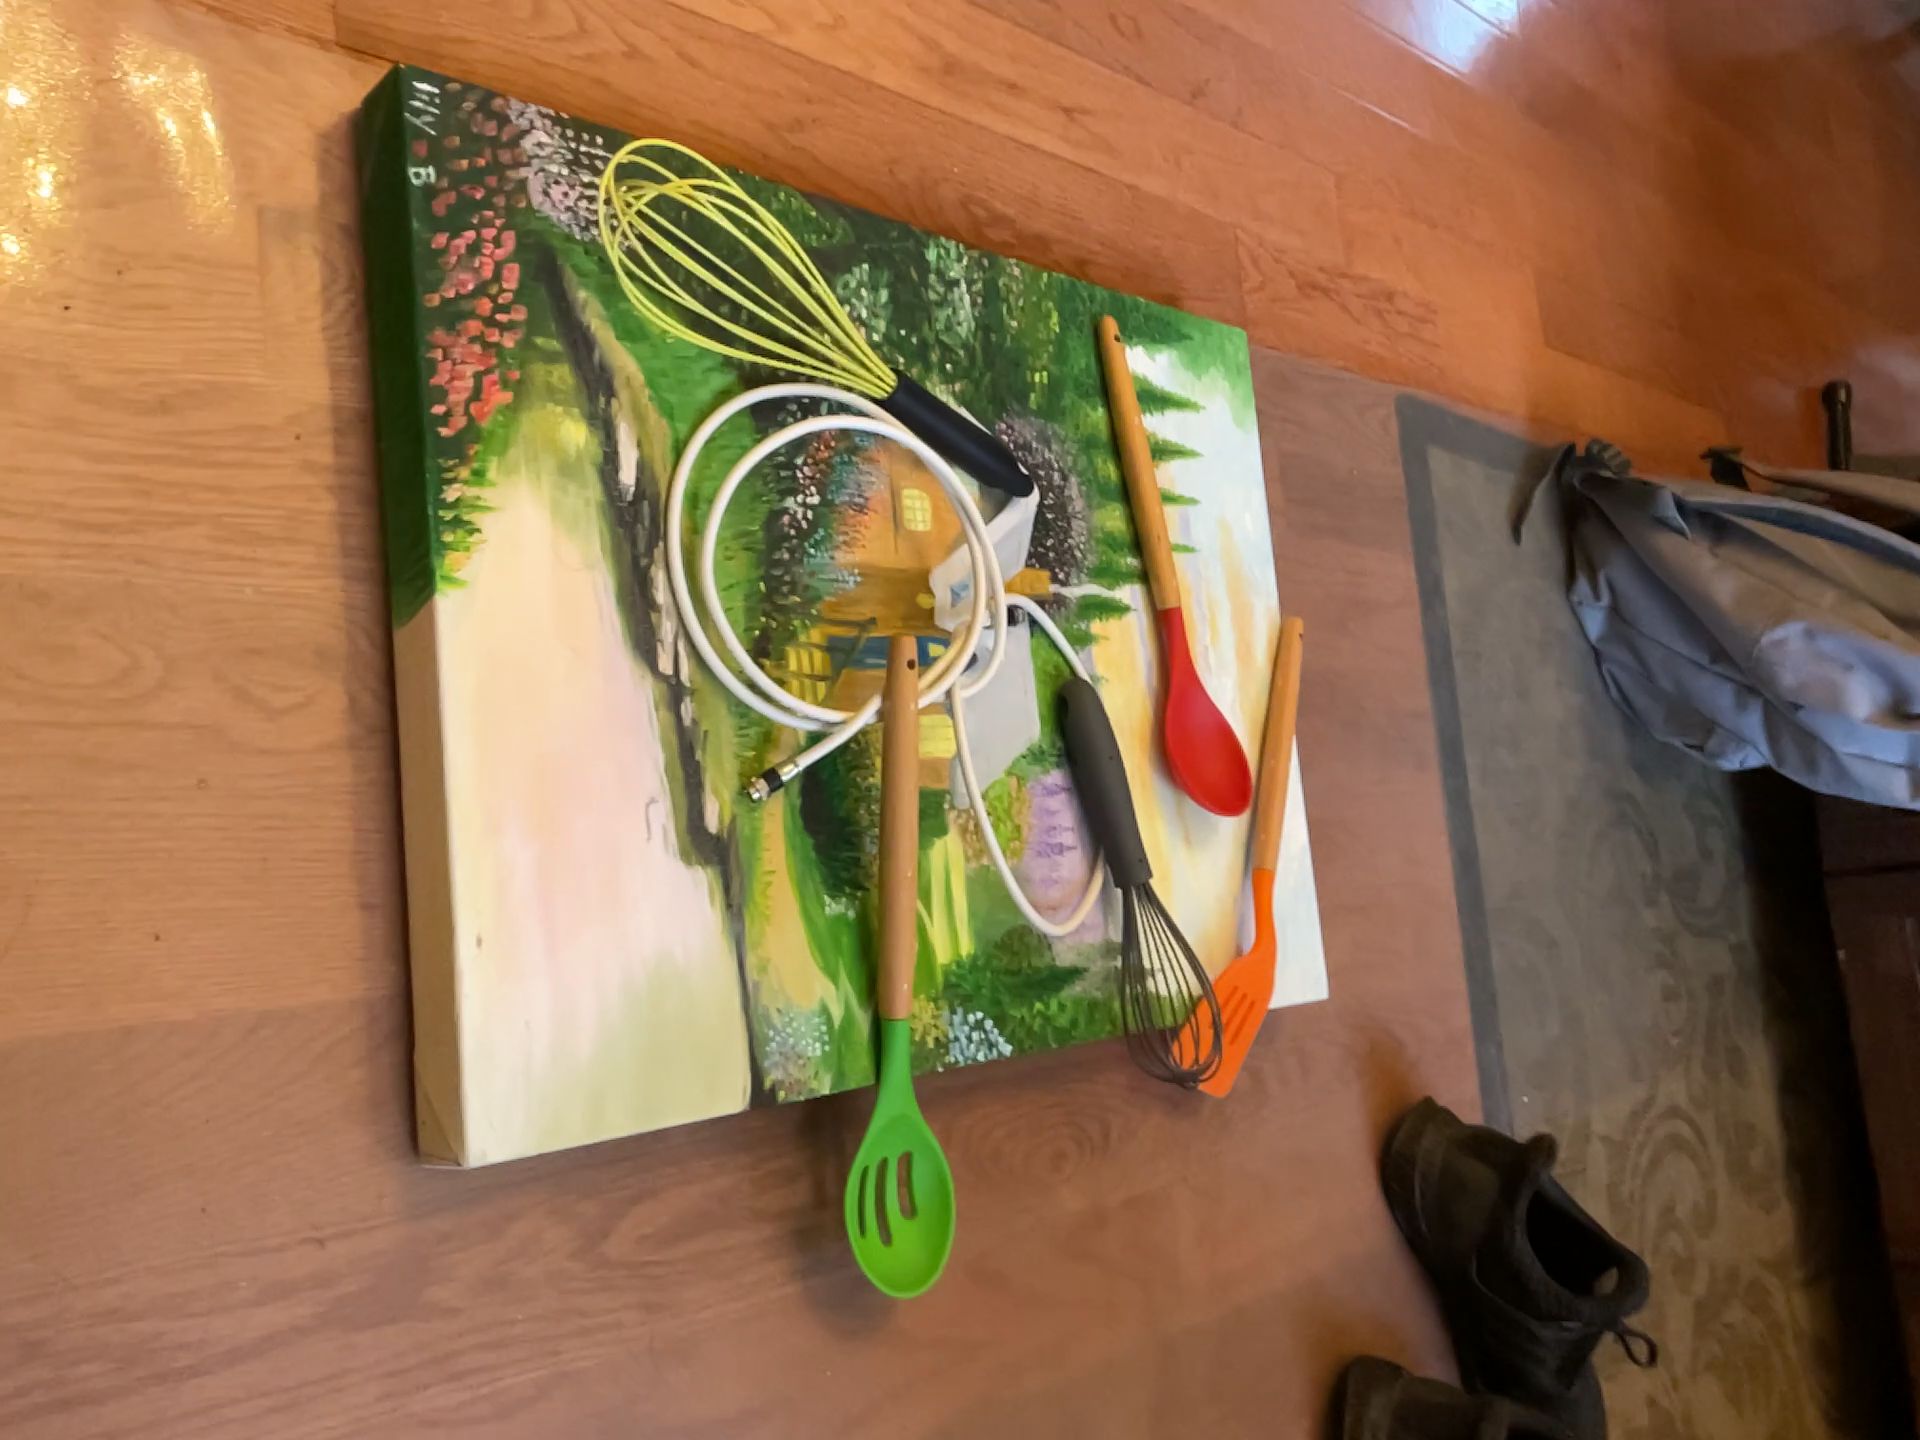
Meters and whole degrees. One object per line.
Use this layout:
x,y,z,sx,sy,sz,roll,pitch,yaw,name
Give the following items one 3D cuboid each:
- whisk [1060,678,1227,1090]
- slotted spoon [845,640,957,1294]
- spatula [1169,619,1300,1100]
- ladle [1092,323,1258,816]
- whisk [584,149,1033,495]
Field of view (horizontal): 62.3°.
0.098,0.090,0.897,0.055,0.055,0.239,-8,80,-56,whisk
-0.030,0.118,0.768,0.070,0.031,0.314,-3,94,-44,slotted spoon
0.187,0.077,1.013,0.080,0.041,0.323,40,53,-45,spatula
0.124,-0.093,0.979,0.069,0.031,0.315,-10,85,-46,ladle
-0.061,-0.182,0.802,0.311,0.067,0.080,27,68,-44,whisk
